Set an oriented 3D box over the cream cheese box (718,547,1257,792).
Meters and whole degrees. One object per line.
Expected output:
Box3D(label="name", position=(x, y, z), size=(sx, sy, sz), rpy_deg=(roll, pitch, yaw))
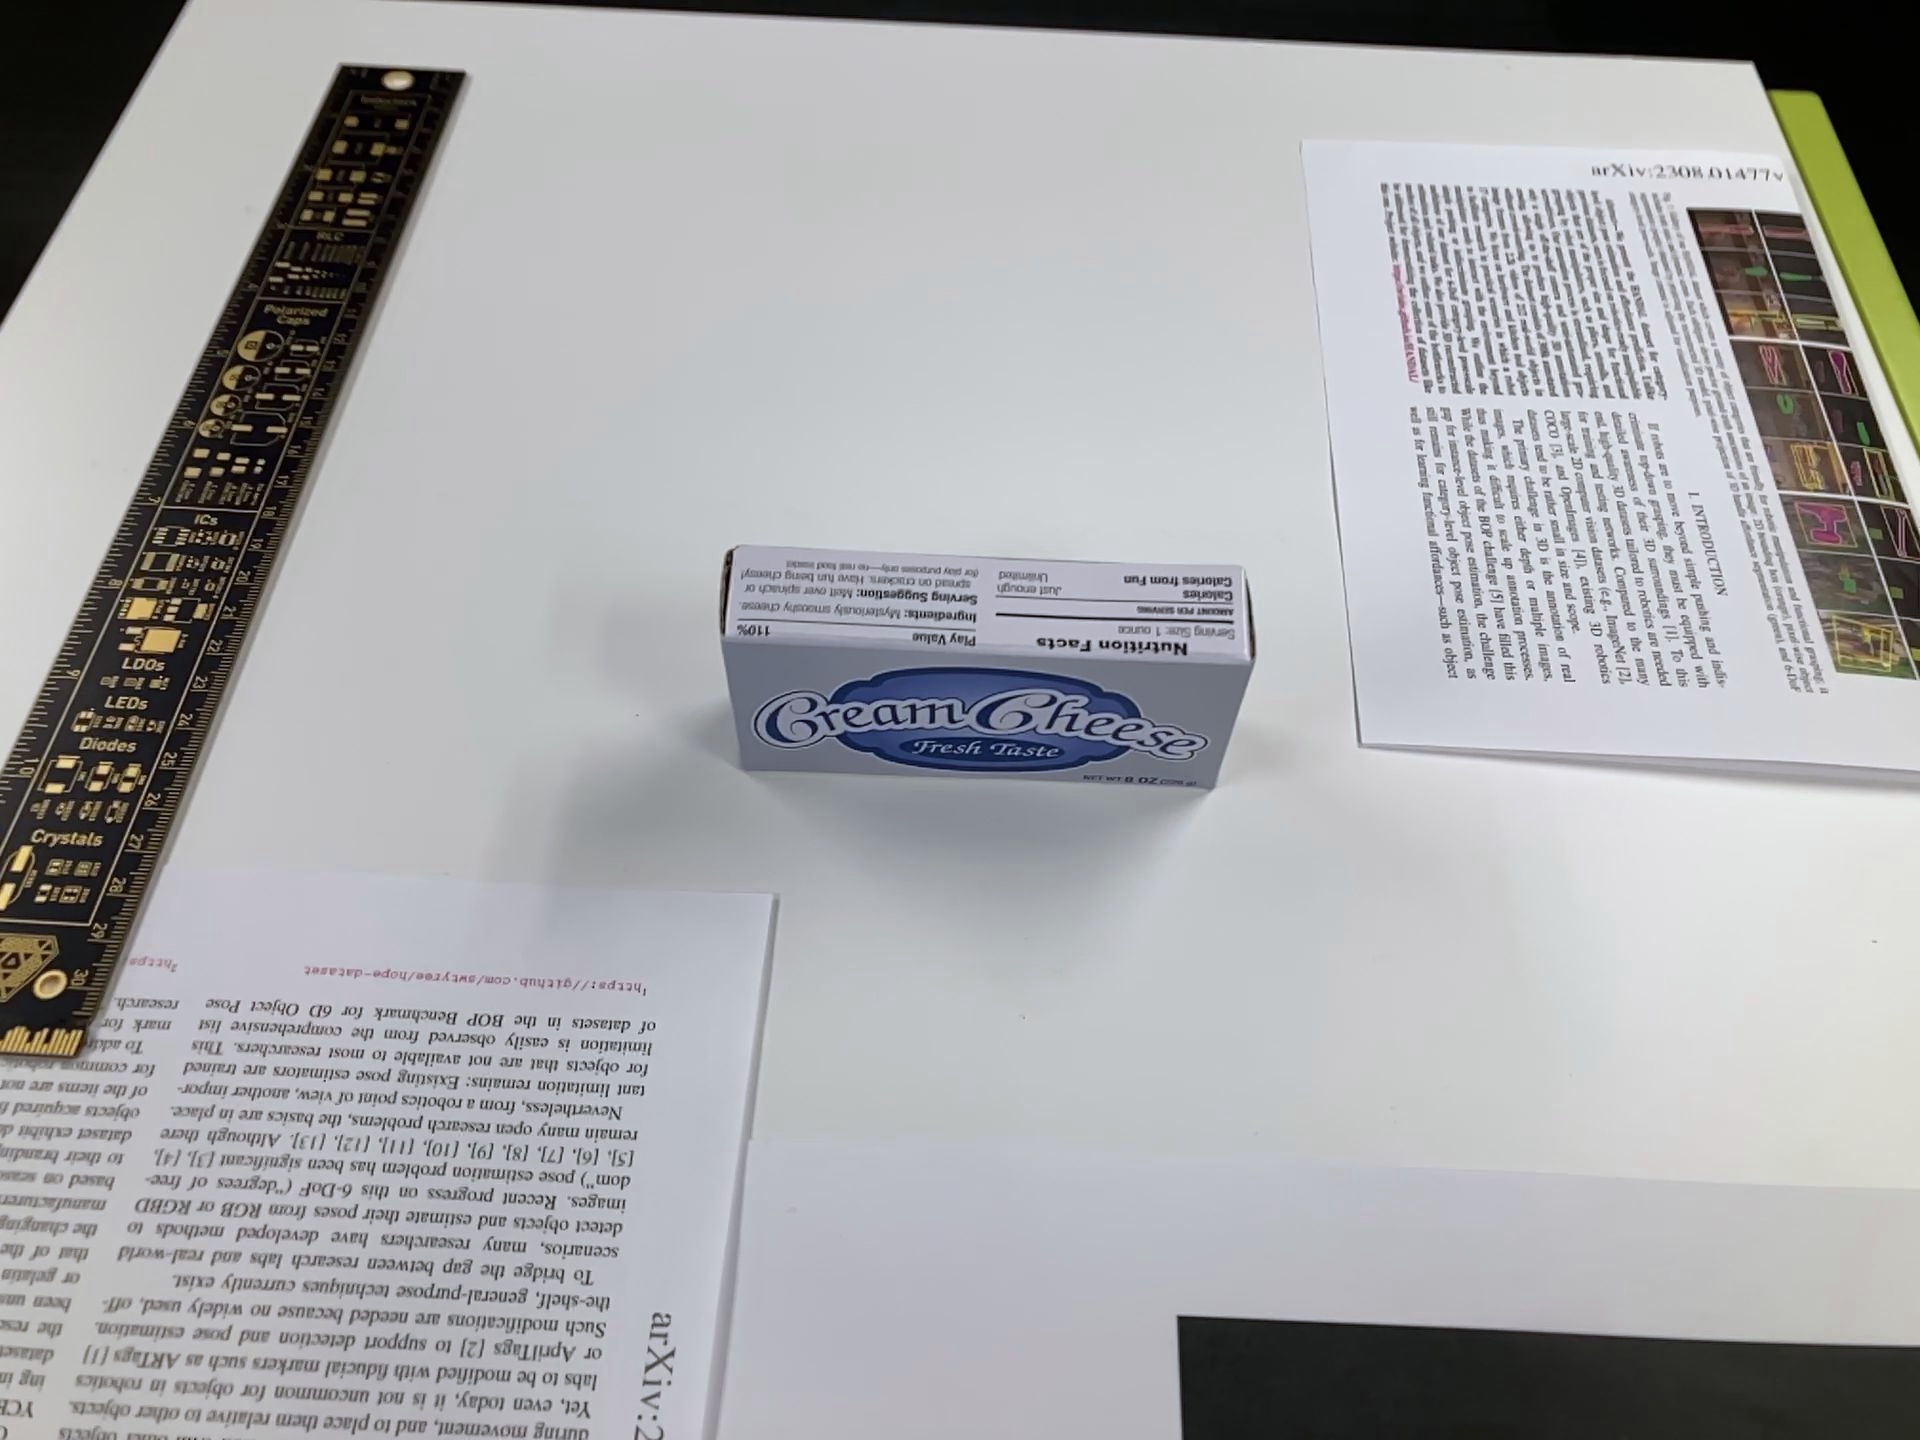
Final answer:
Box3D(label="cream cheese box", position=(0.004, -0.009, 0.324), size=(0.104, 0.053, 0.024), rpy_deg=(2, 57, 0))
